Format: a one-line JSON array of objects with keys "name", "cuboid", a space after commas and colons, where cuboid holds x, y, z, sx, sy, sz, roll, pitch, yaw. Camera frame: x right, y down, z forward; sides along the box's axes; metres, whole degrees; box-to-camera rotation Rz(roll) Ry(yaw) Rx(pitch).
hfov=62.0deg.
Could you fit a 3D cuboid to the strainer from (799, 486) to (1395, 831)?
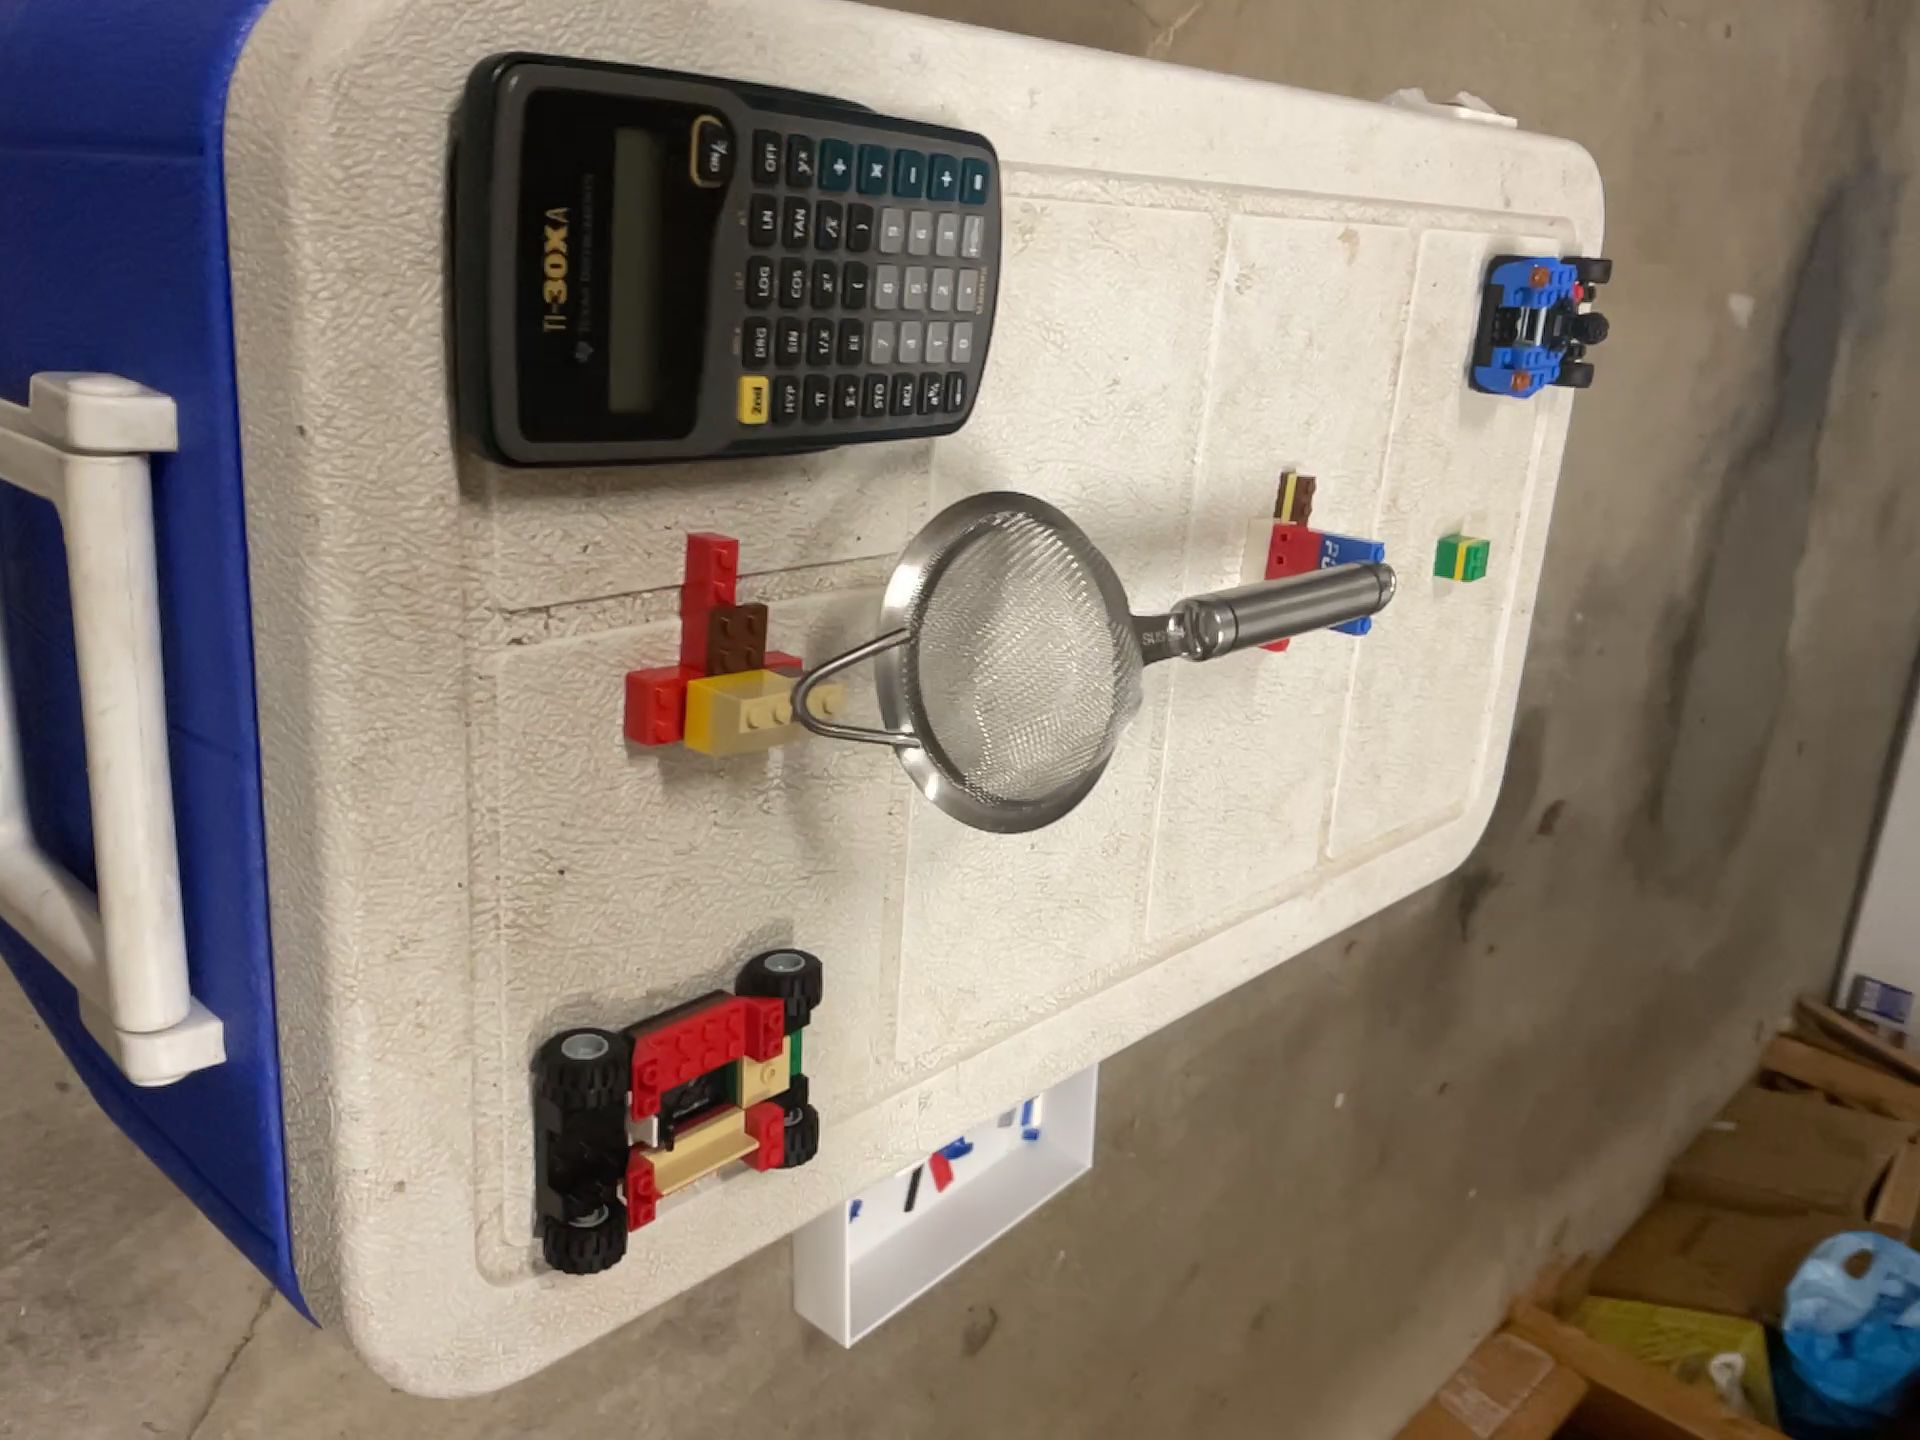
[{"name": "strainer", "cuboid": [0.064, -0.027, 0.447, 0.258, 0.050, 0.087, -15, 100, -48]}]
